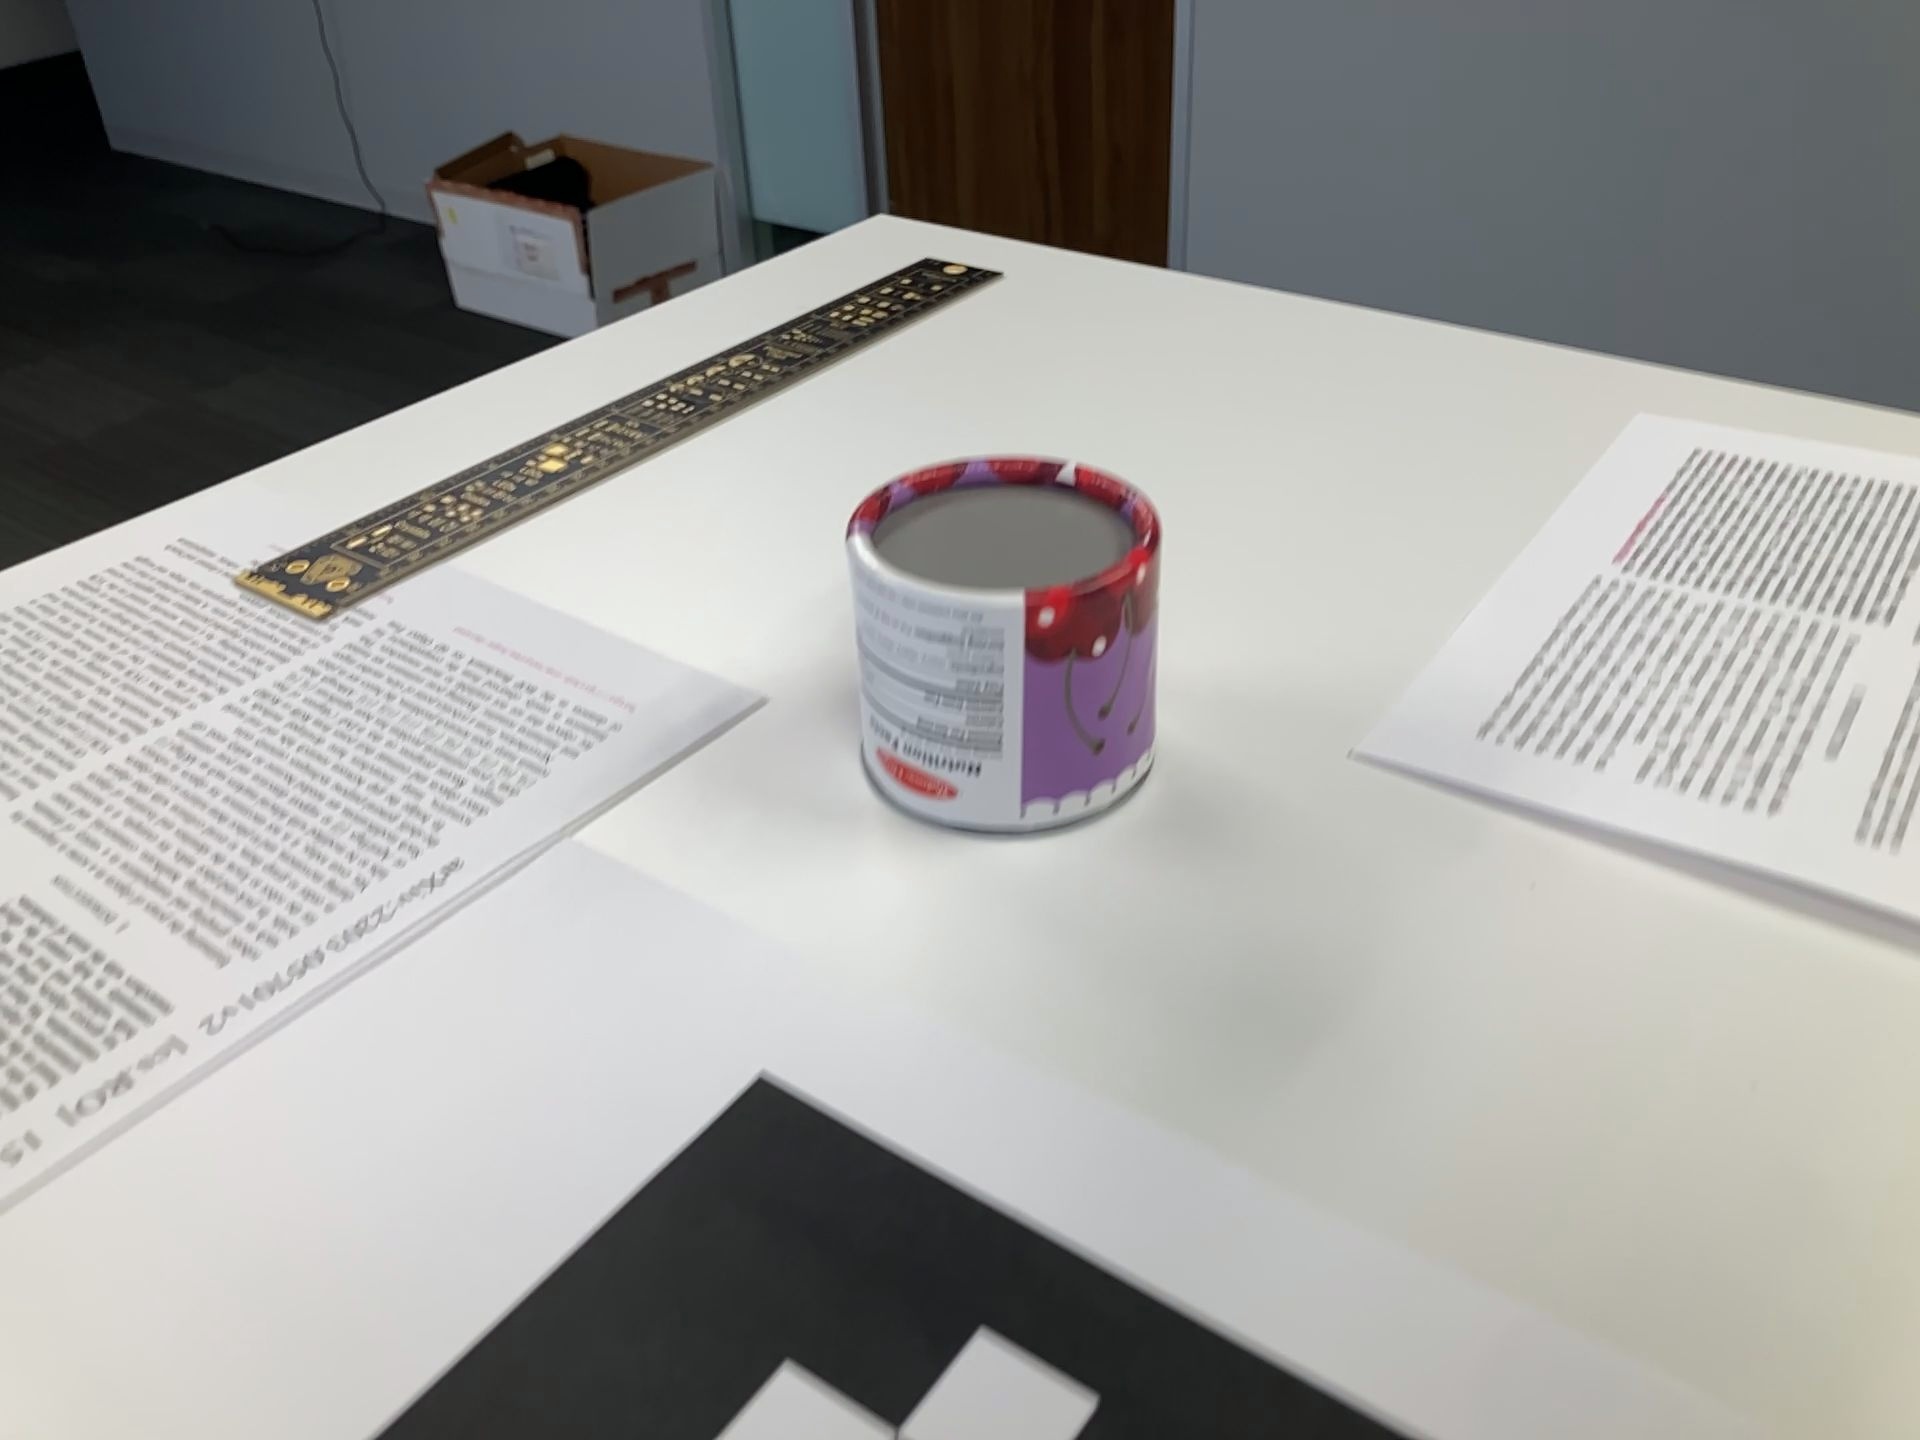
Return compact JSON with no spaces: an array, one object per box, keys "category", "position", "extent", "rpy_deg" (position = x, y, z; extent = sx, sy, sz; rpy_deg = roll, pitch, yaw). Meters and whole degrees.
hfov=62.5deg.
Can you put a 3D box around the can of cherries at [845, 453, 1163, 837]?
[{"category":"can of cherries","position":[0.011,-0.019,0.341],"extent":[0.071,0.058,0.071],"rpy_deg":[-2,33,1]}]
